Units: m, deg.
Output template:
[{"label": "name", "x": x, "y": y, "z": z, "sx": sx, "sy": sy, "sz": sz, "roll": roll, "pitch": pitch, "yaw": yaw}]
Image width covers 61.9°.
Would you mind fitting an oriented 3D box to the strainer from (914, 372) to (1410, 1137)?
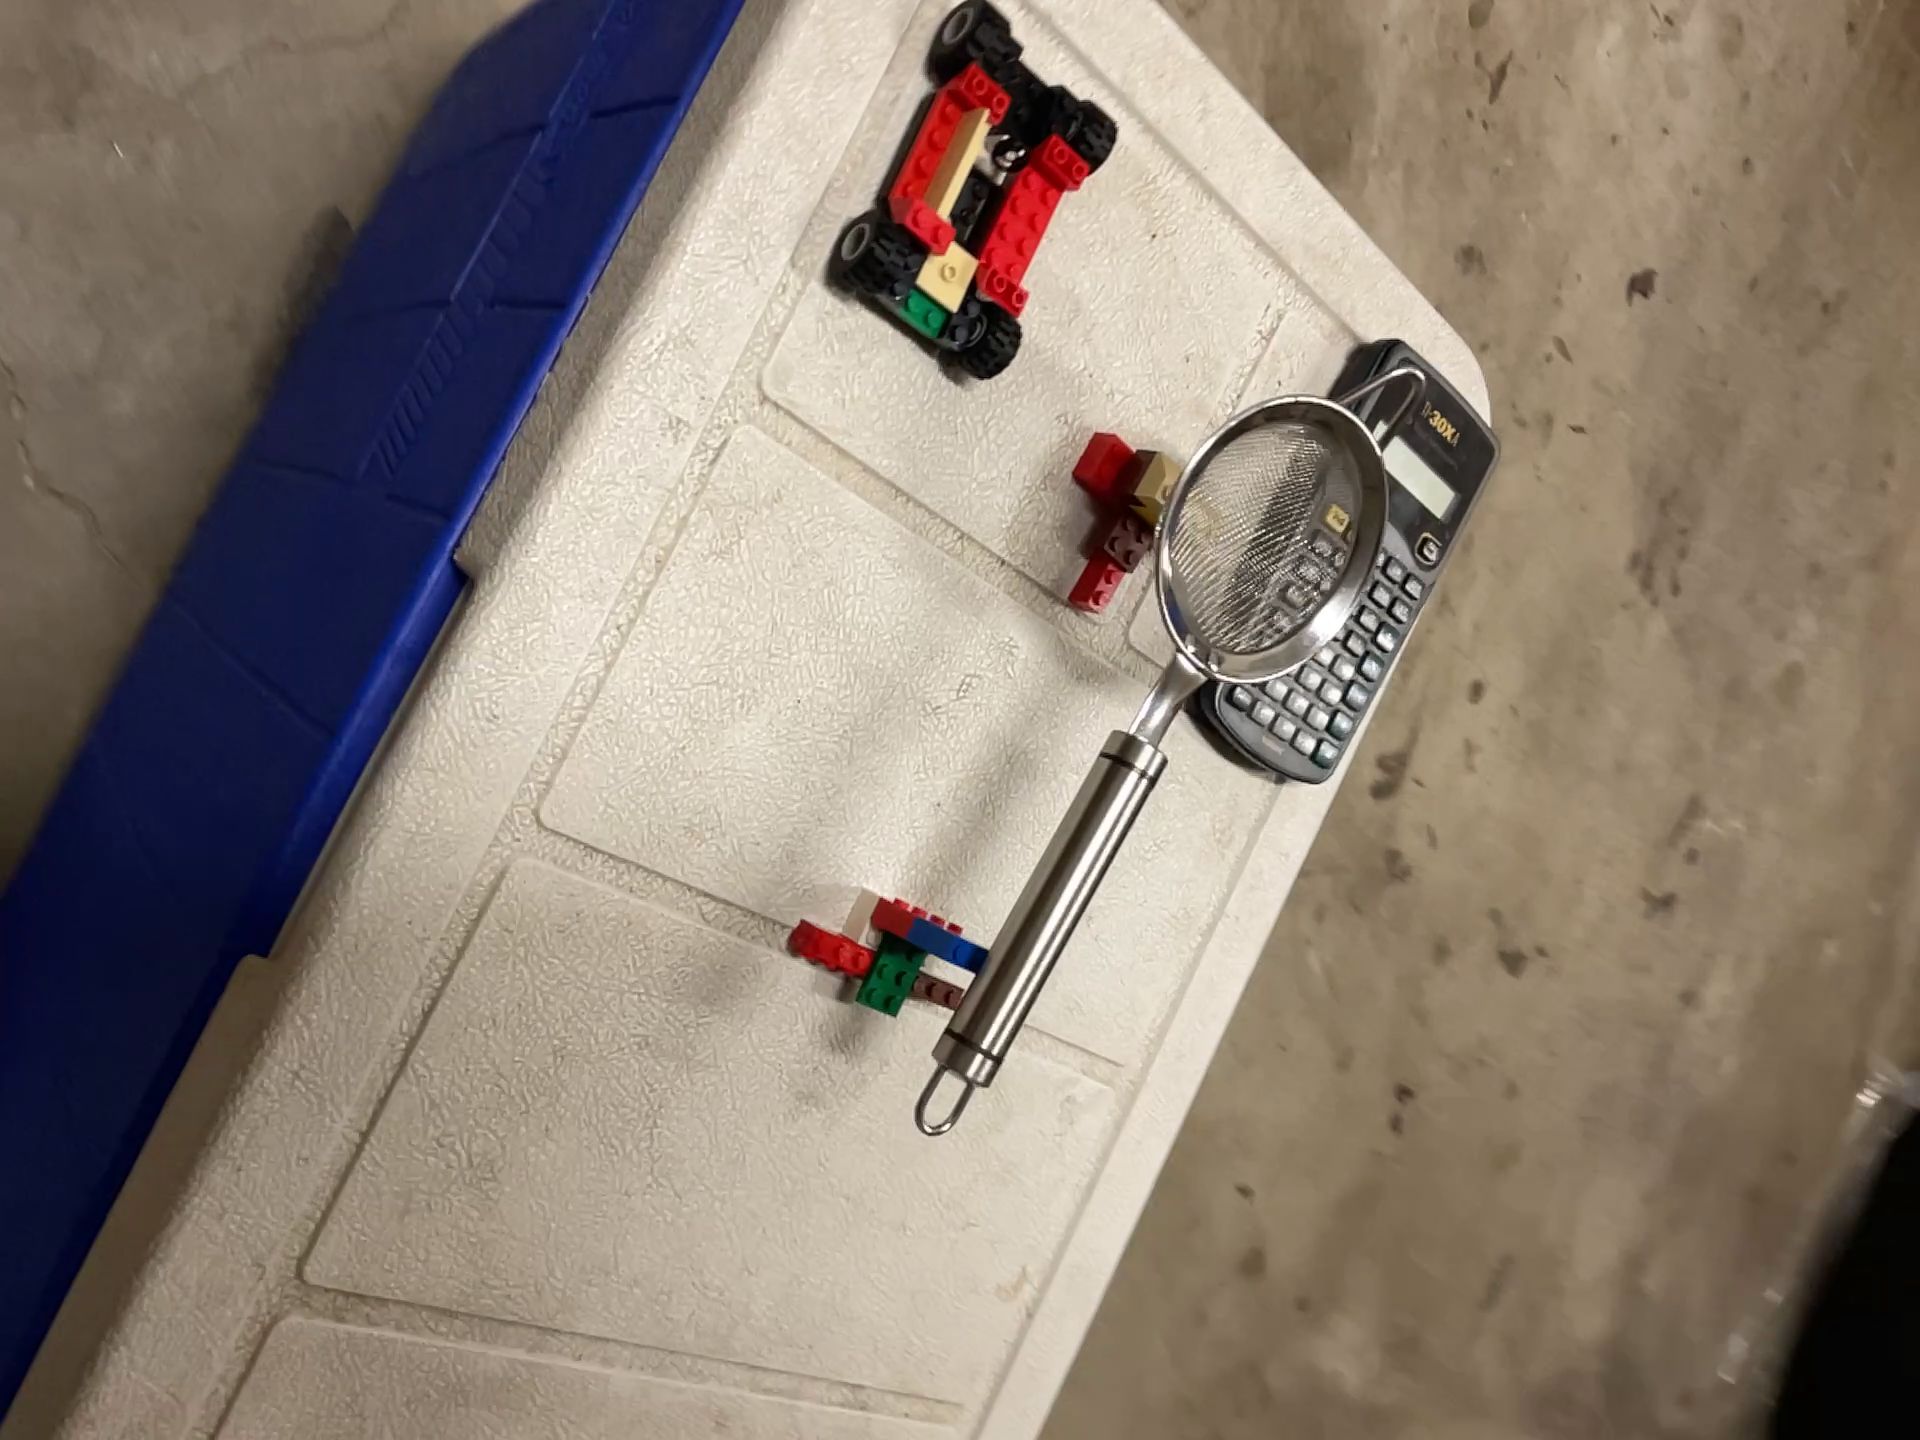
[{"label": "strainer", "x": 0.052, "y": 0.005, "z": 0.470, "sx": 0.087, "sy": 0.050, "sz": 0.258, "roll": 36, "pitch": 80, "yaw": -36}]
